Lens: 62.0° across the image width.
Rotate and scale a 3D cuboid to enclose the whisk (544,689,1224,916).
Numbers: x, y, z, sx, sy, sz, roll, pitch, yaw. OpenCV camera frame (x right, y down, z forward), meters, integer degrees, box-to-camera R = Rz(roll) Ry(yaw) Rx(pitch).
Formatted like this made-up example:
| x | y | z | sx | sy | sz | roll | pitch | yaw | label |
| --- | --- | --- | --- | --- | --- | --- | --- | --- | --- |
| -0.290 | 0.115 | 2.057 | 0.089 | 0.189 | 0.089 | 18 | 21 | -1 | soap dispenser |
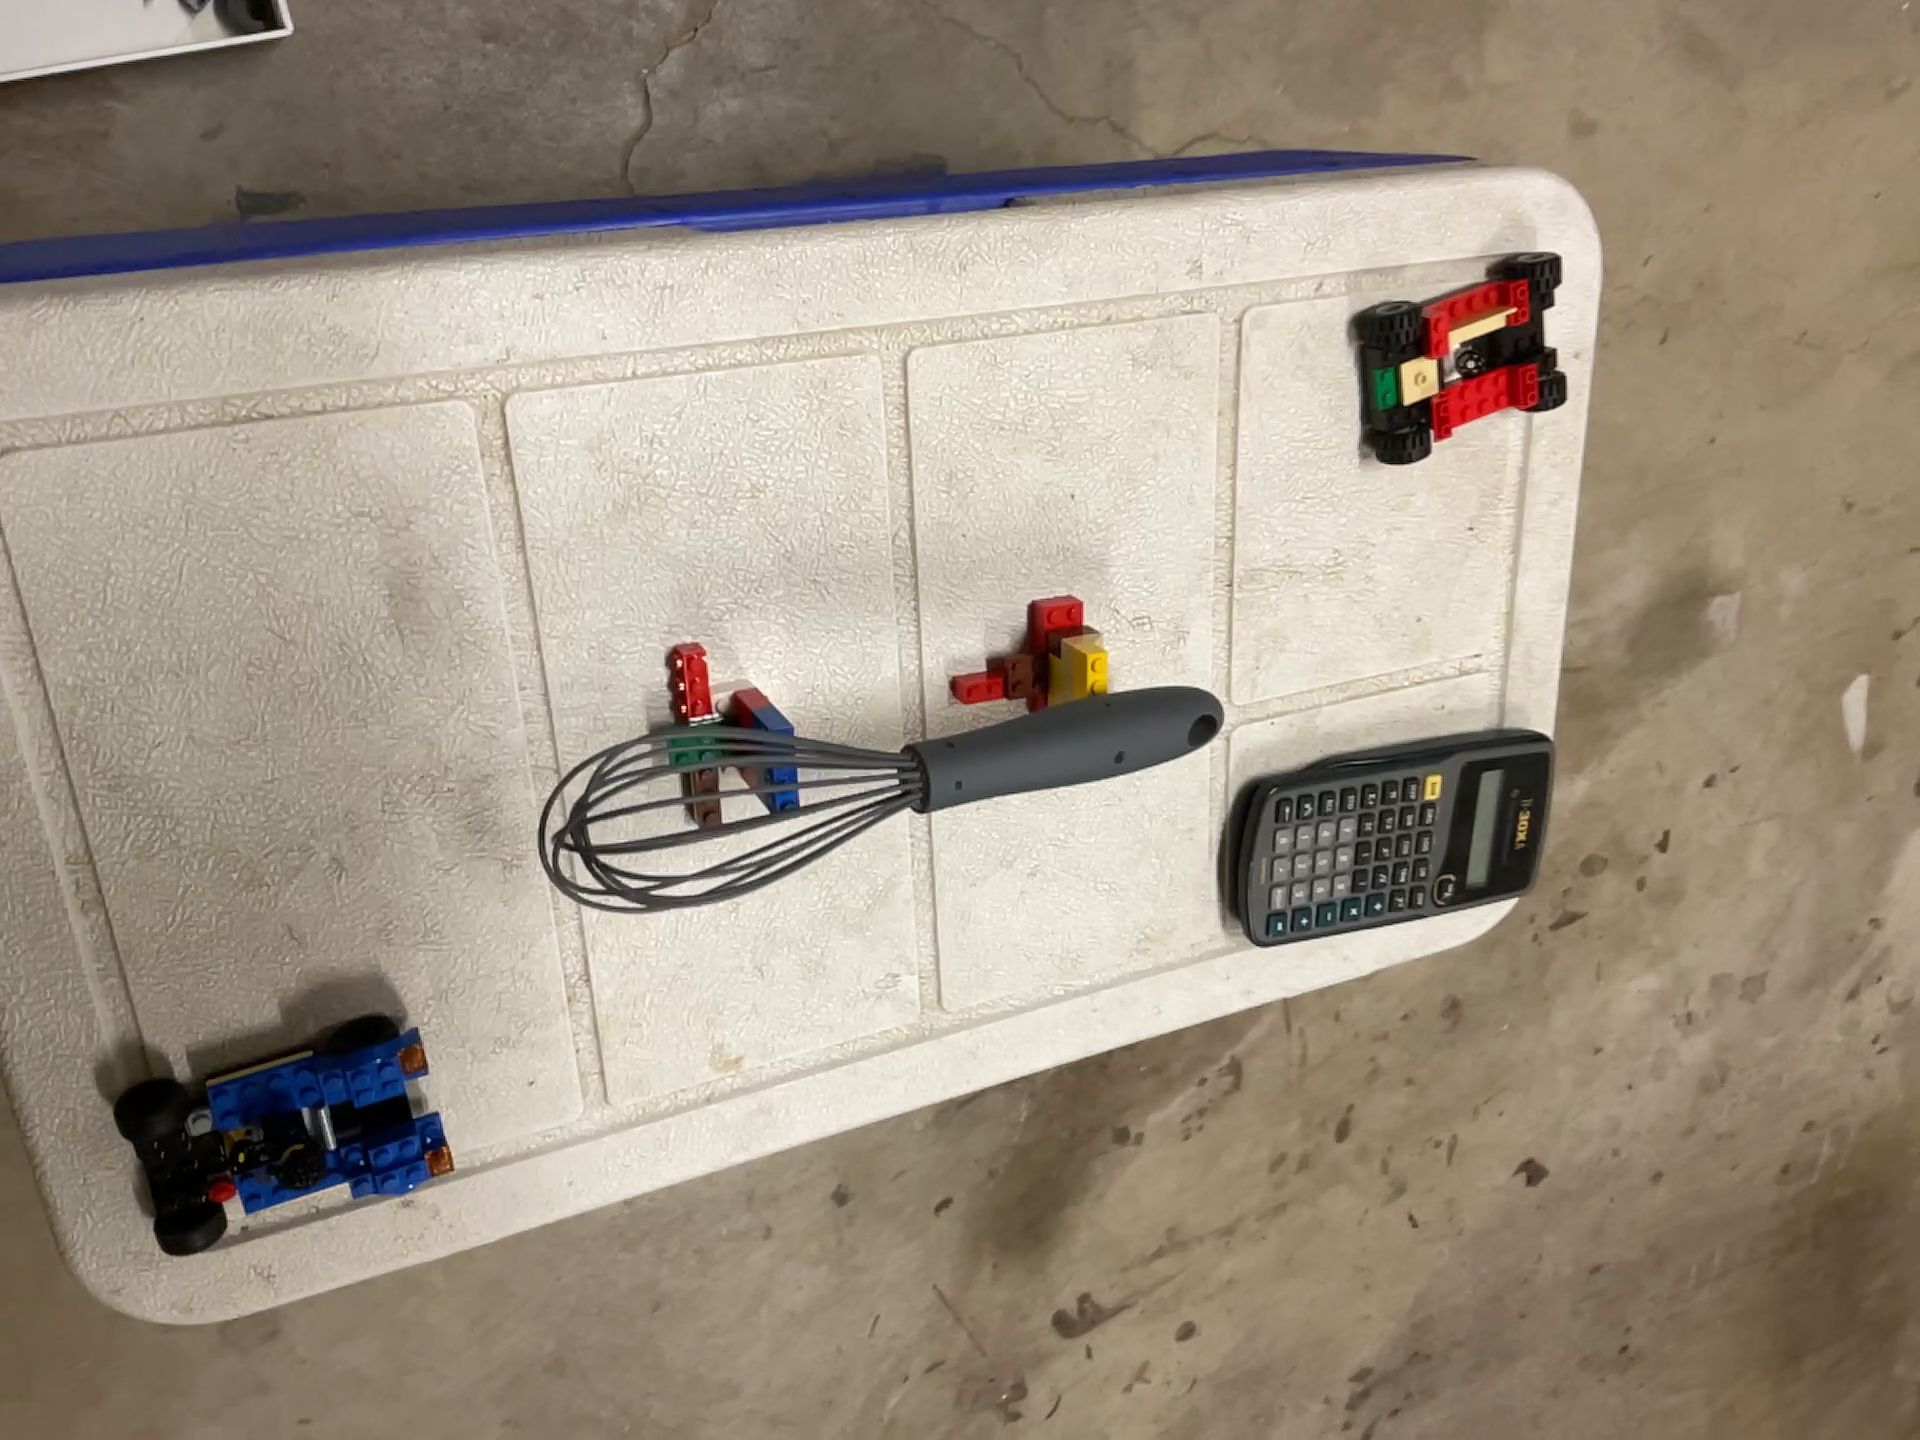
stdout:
| x | y | z | sx | sy | sz | roll | pitch | yaw | label |
| --- | --- | --- | --- | --- | --- | --- | --- | --- | --- |
| -0.014 | 0.019 | 0.505 | 0.239 | 0.055 | 0.055 | -10 | 116 | -27 | whisk |
